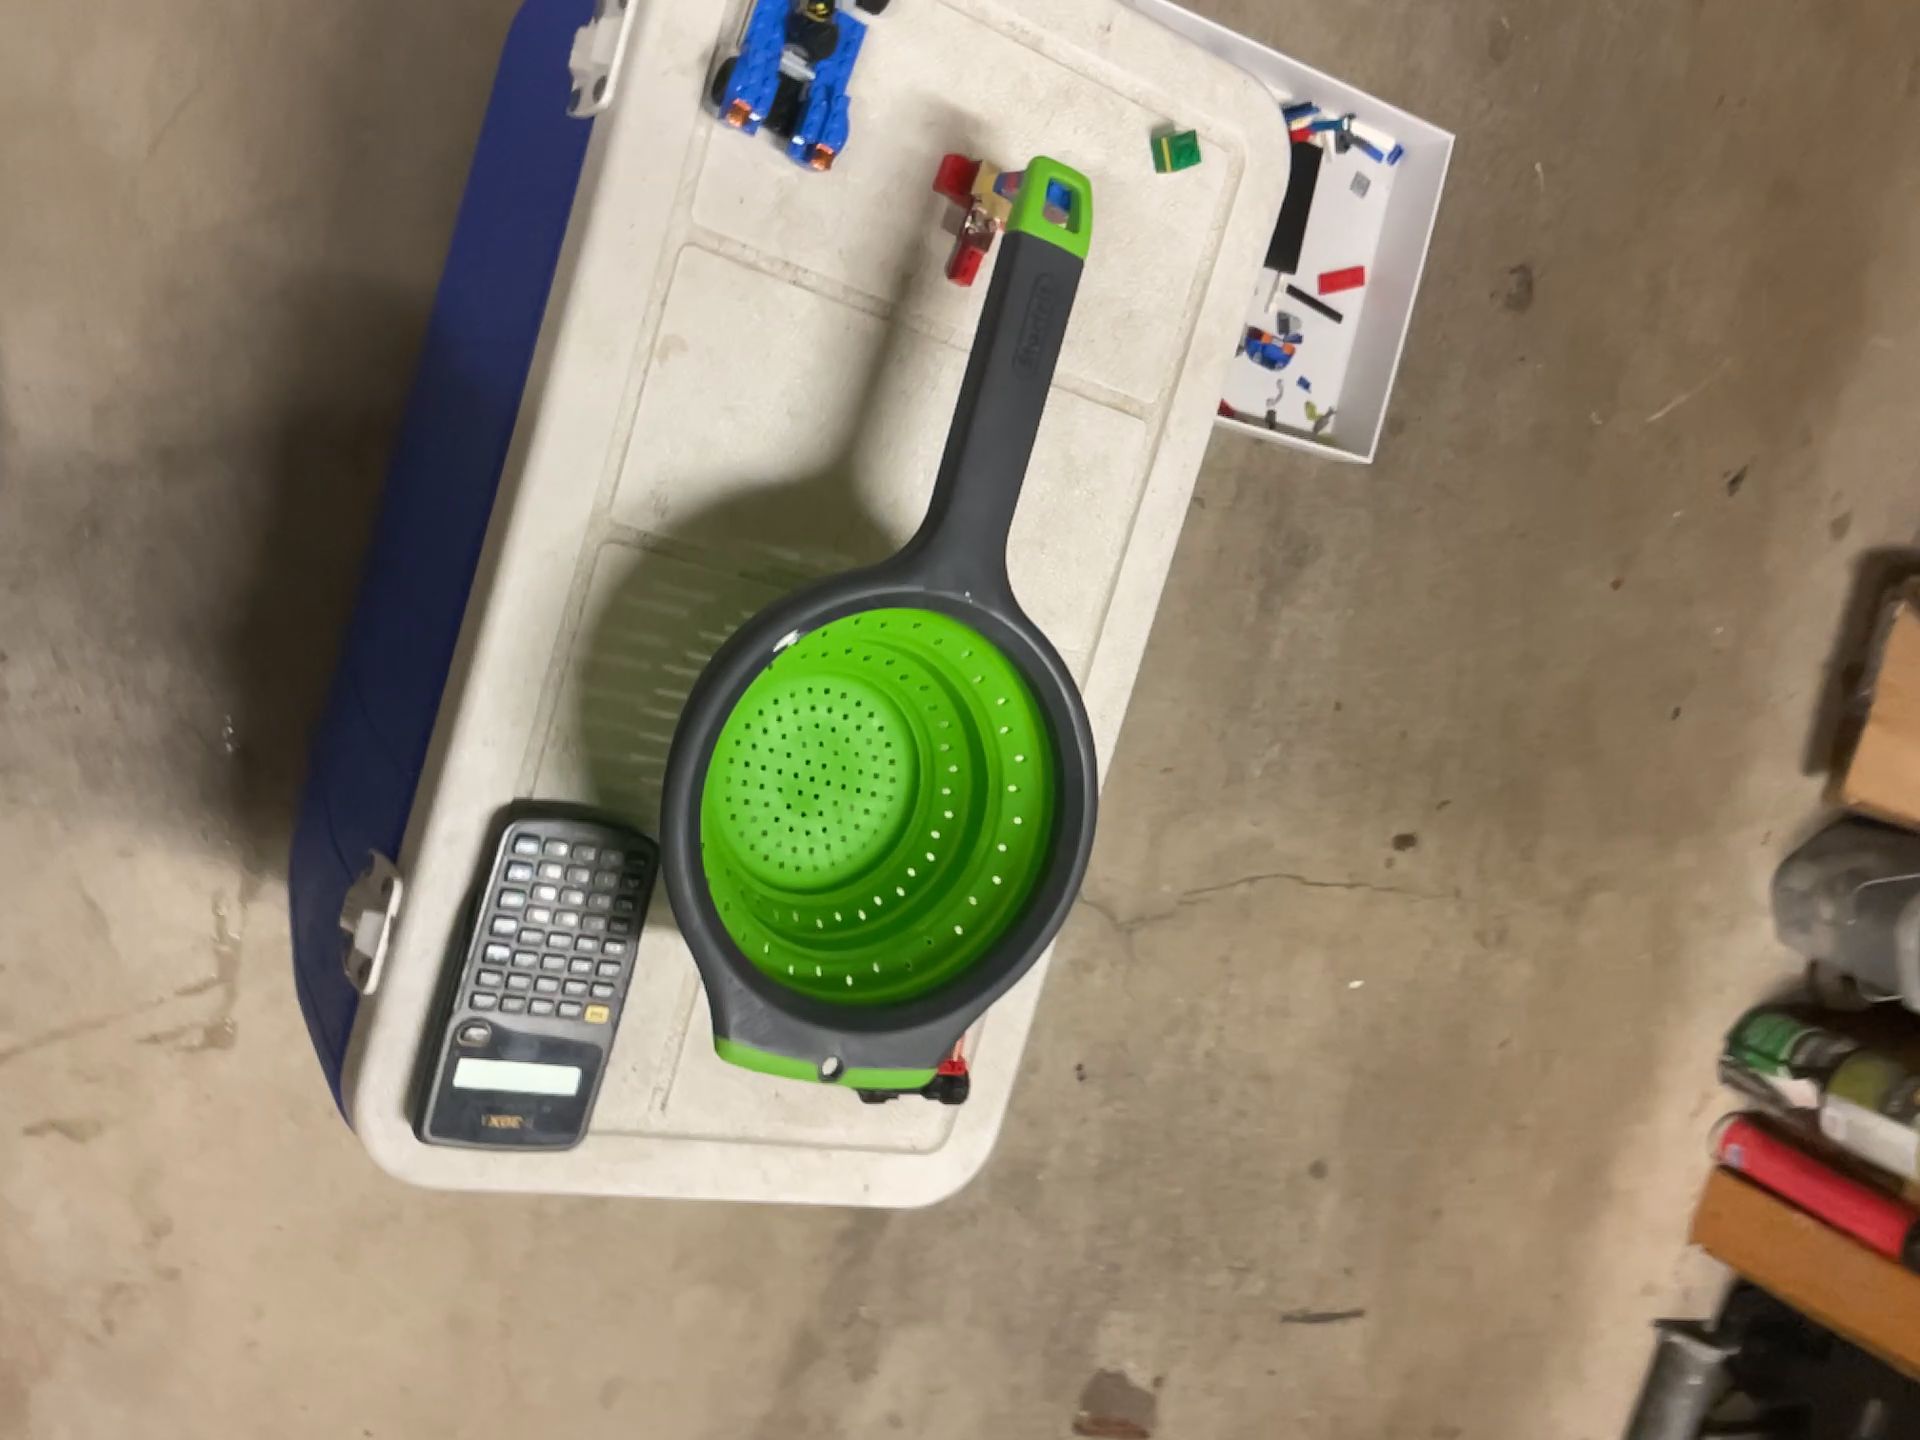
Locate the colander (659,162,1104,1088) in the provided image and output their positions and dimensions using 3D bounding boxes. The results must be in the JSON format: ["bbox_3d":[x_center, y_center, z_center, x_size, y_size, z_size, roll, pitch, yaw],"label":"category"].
[{"bbox_3d":[-0.024,-0.045,0.702,0.204,0.094,0.397,16,89,-29],"label":"colander"}]
